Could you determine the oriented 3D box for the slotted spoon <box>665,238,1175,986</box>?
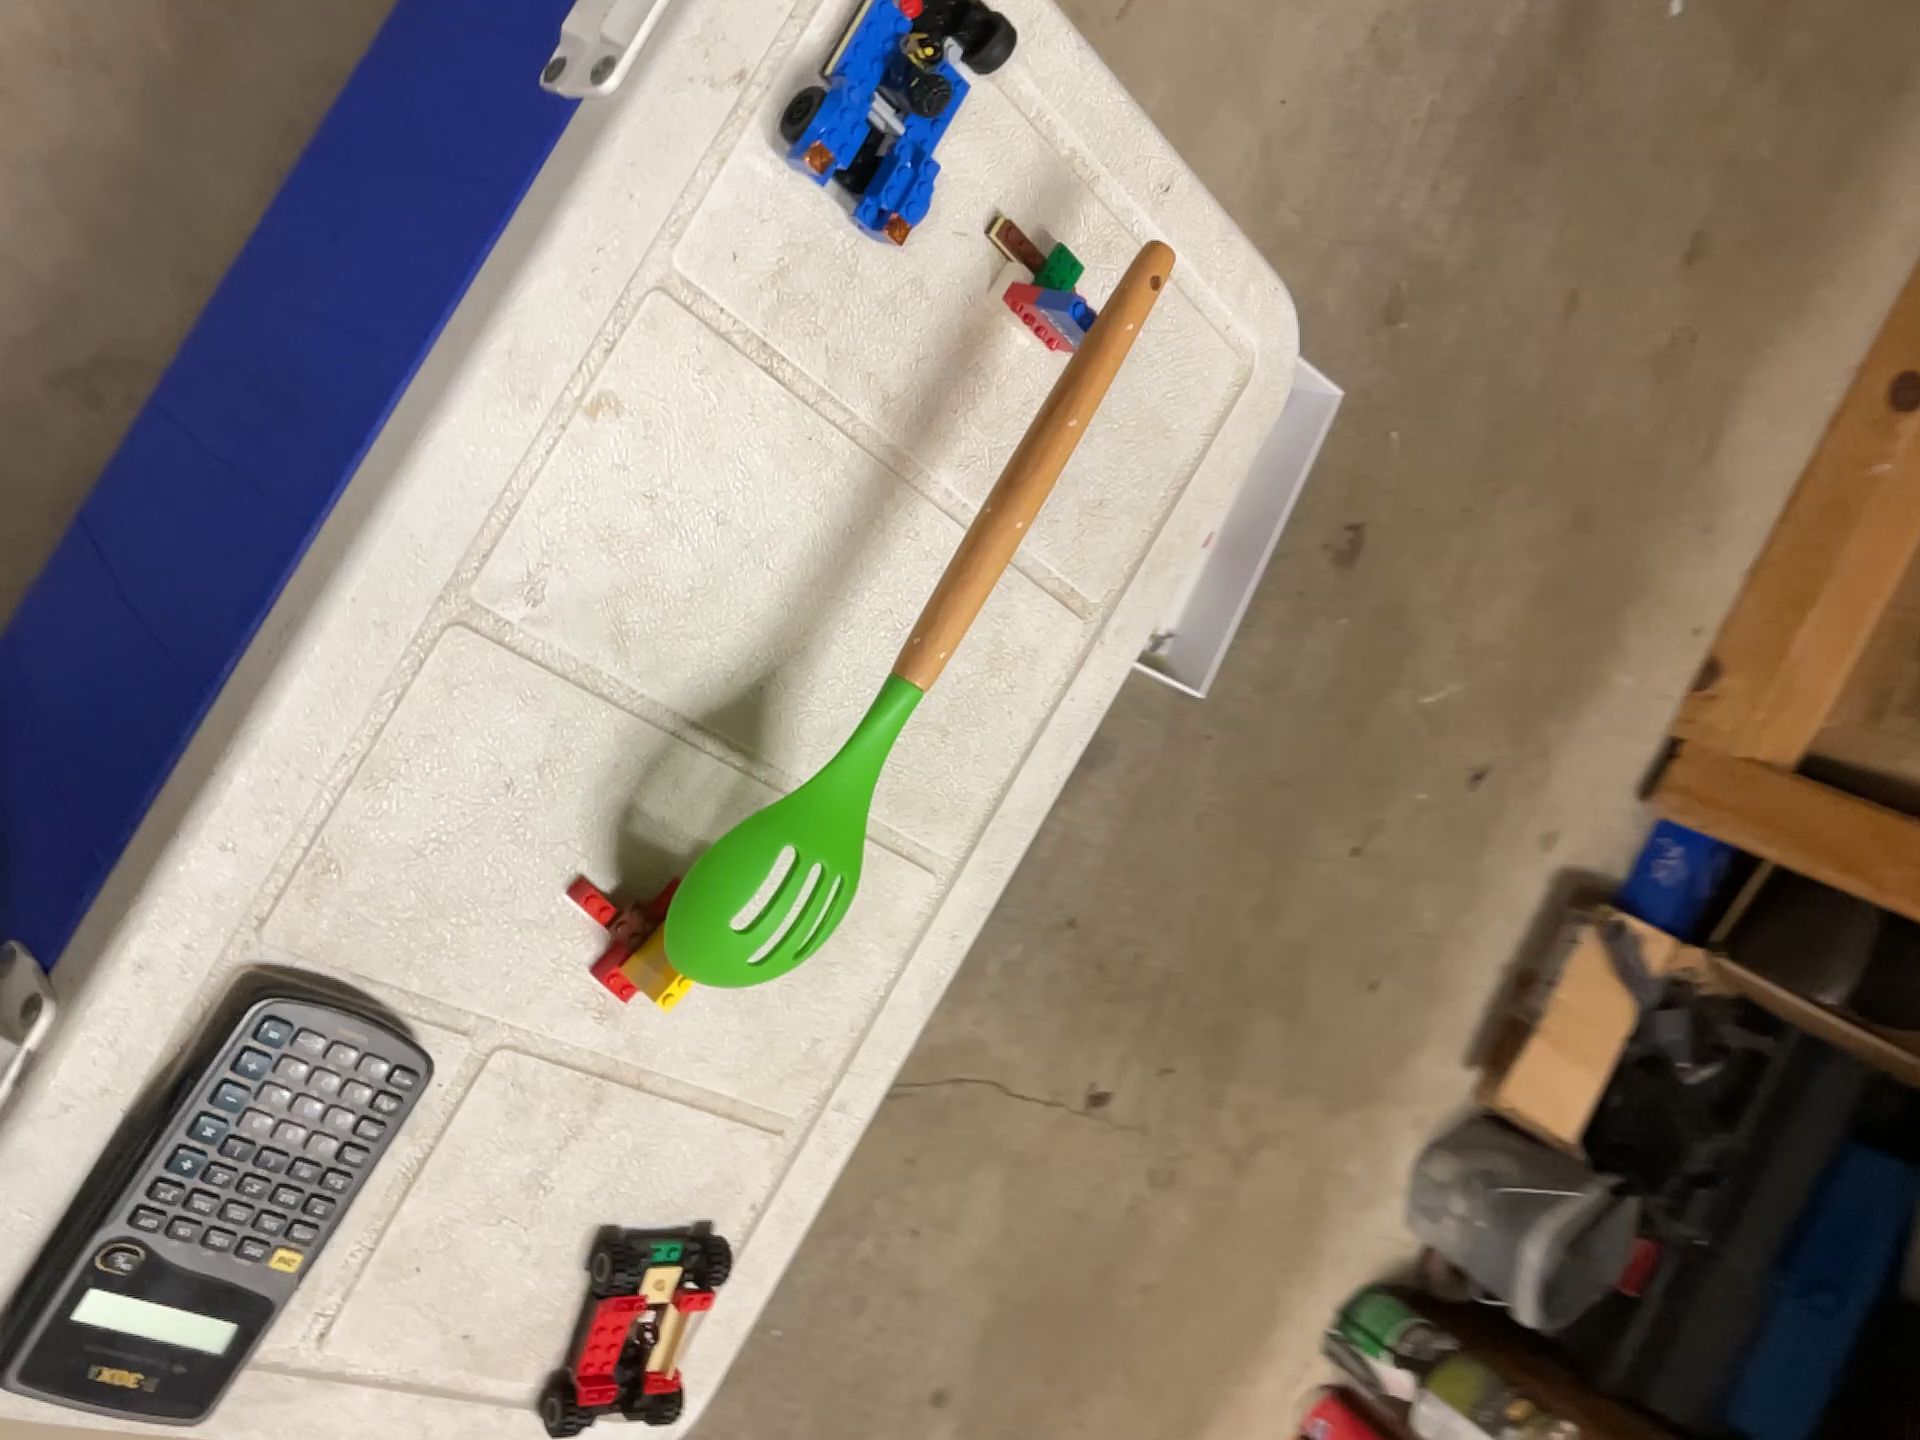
[{"bbox_3d":[-0.007,-0.038,0.573,0.070,0.031,0.314,33,87,-42],"label":"slotted spoon"}]
